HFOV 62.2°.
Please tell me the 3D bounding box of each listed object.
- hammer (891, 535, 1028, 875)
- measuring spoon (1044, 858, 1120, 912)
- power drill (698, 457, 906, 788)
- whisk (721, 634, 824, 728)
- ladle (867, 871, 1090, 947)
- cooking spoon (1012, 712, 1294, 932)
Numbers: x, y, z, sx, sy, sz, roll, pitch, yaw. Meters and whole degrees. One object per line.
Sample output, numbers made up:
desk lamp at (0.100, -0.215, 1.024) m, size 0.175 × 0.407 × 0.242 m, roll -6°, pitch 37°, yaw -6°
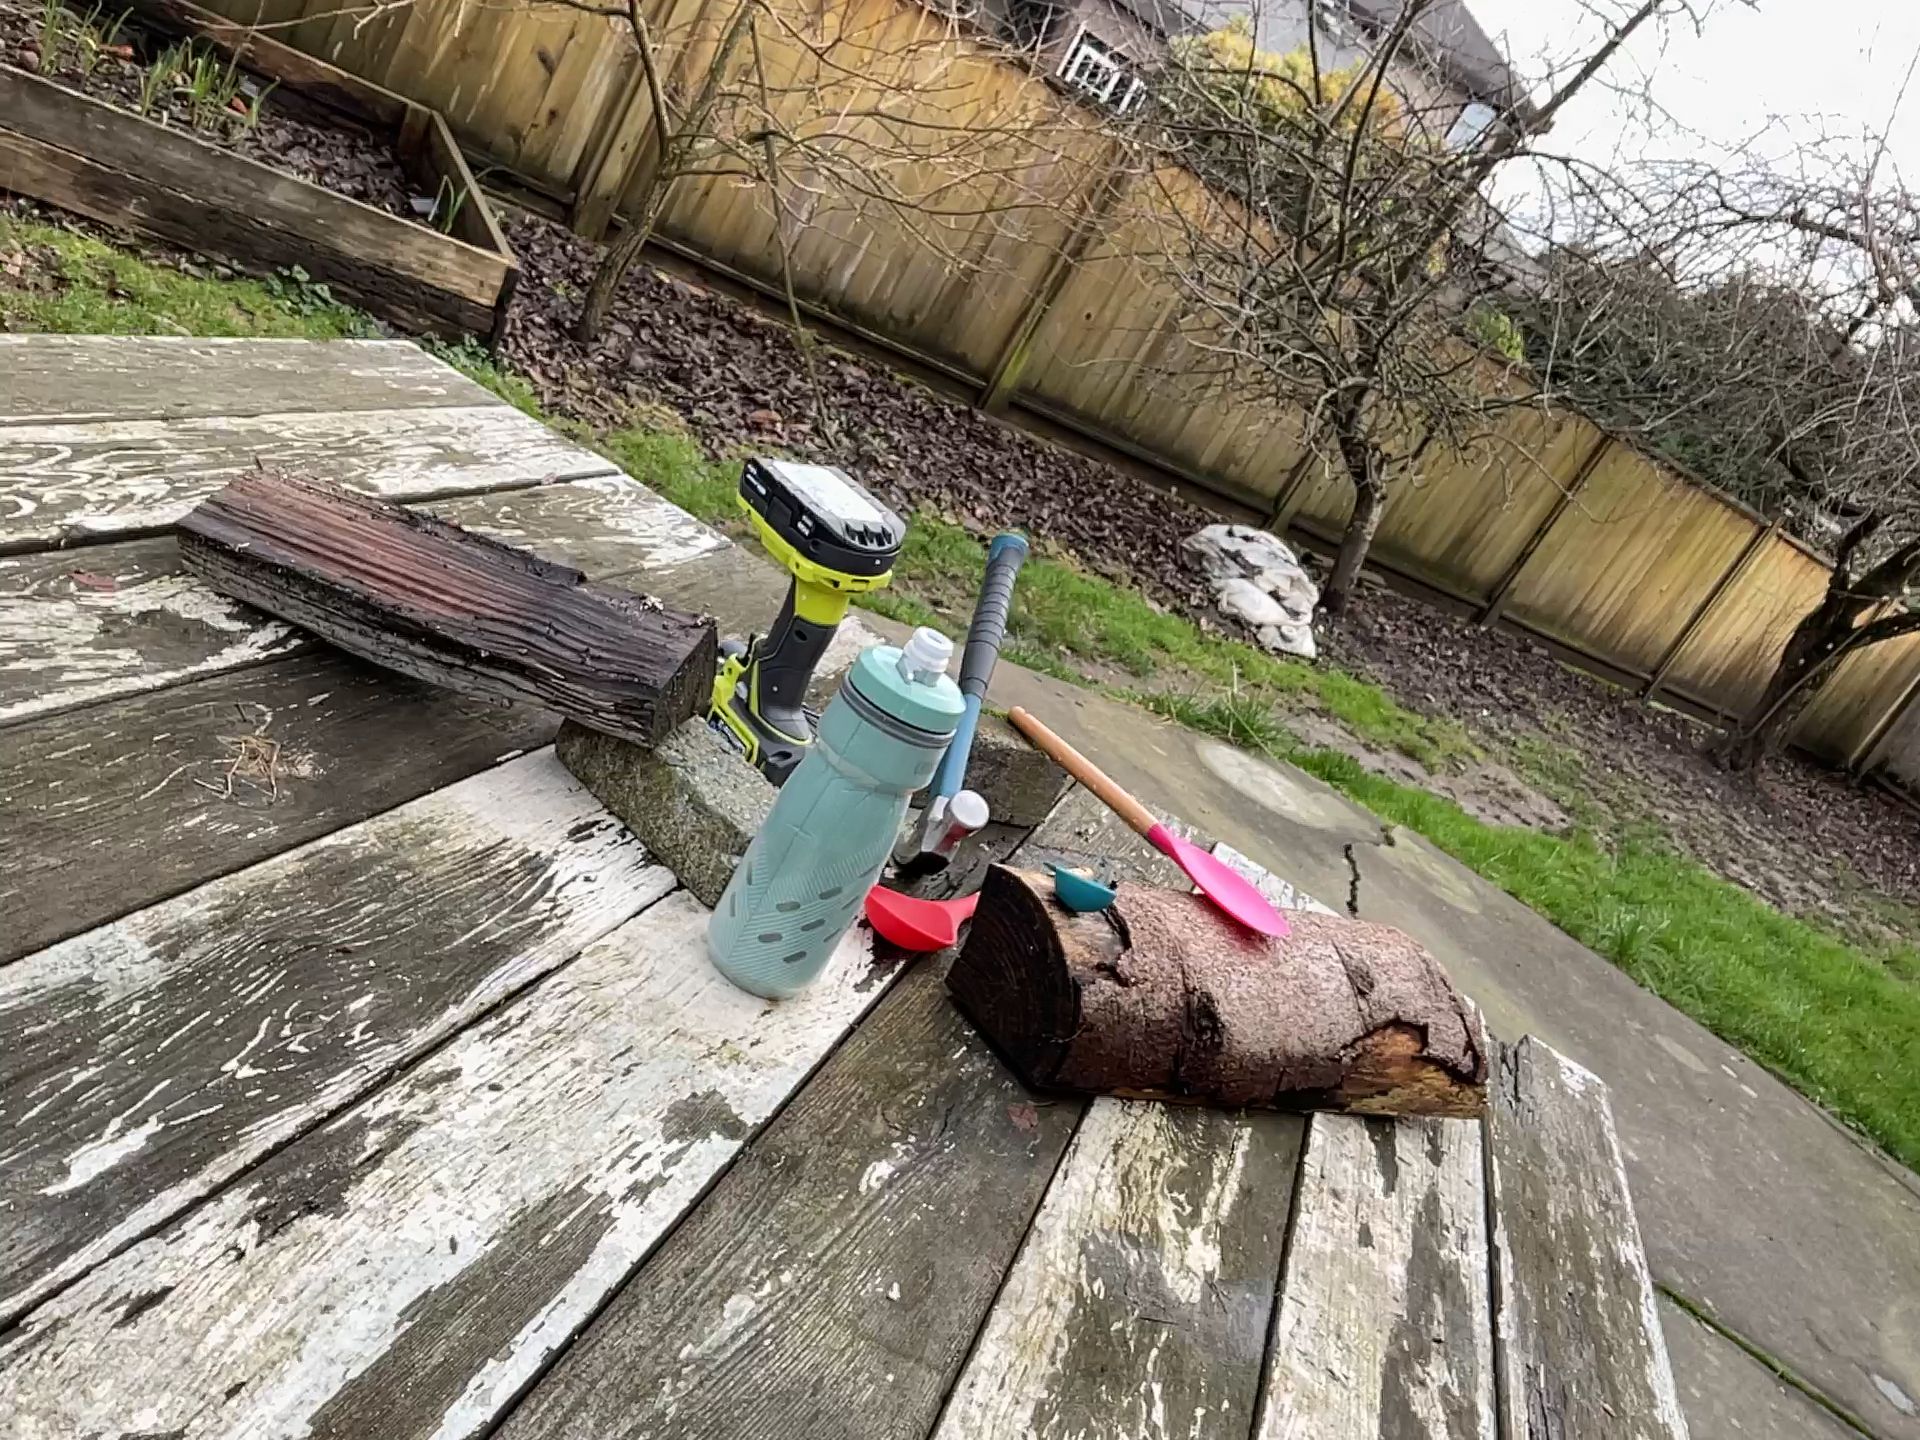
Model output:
hammer at (0.009, -0.022, 1.238) m, size 0.033 × 0.128 × 0.331 m, roll 26°, pitch 50°, yaw -15°
measuring spoon at (0.071, 0.109, 1.054) m, size 0.042 × 0.021 × 0.129 m, roll 26°, pitch -3°, yaw -9°
power drill at (-0.134, -0.069, 1.155) m, size 0.080 × 0.223 × 0.171 m, roll 1°, pitch 31°, yaw -41°
whisk at (-0.126, -0.009, 1.269) m, size 0.055 × 0.055 × 0.239 m, roll 20°, pitch 16°, yaw -49°
ladle at (0.025, 0.131, 1.172) m, size 0.069 × 0.031 × 0.315 m, roll 35°, pitch 17°, yaw 25°
cooking spoon at (0.137, 0.074, 1.228) m, size 0.068 × 0.017 × 0.319 m, roll 10°, pitch 22°, yaw -43°
